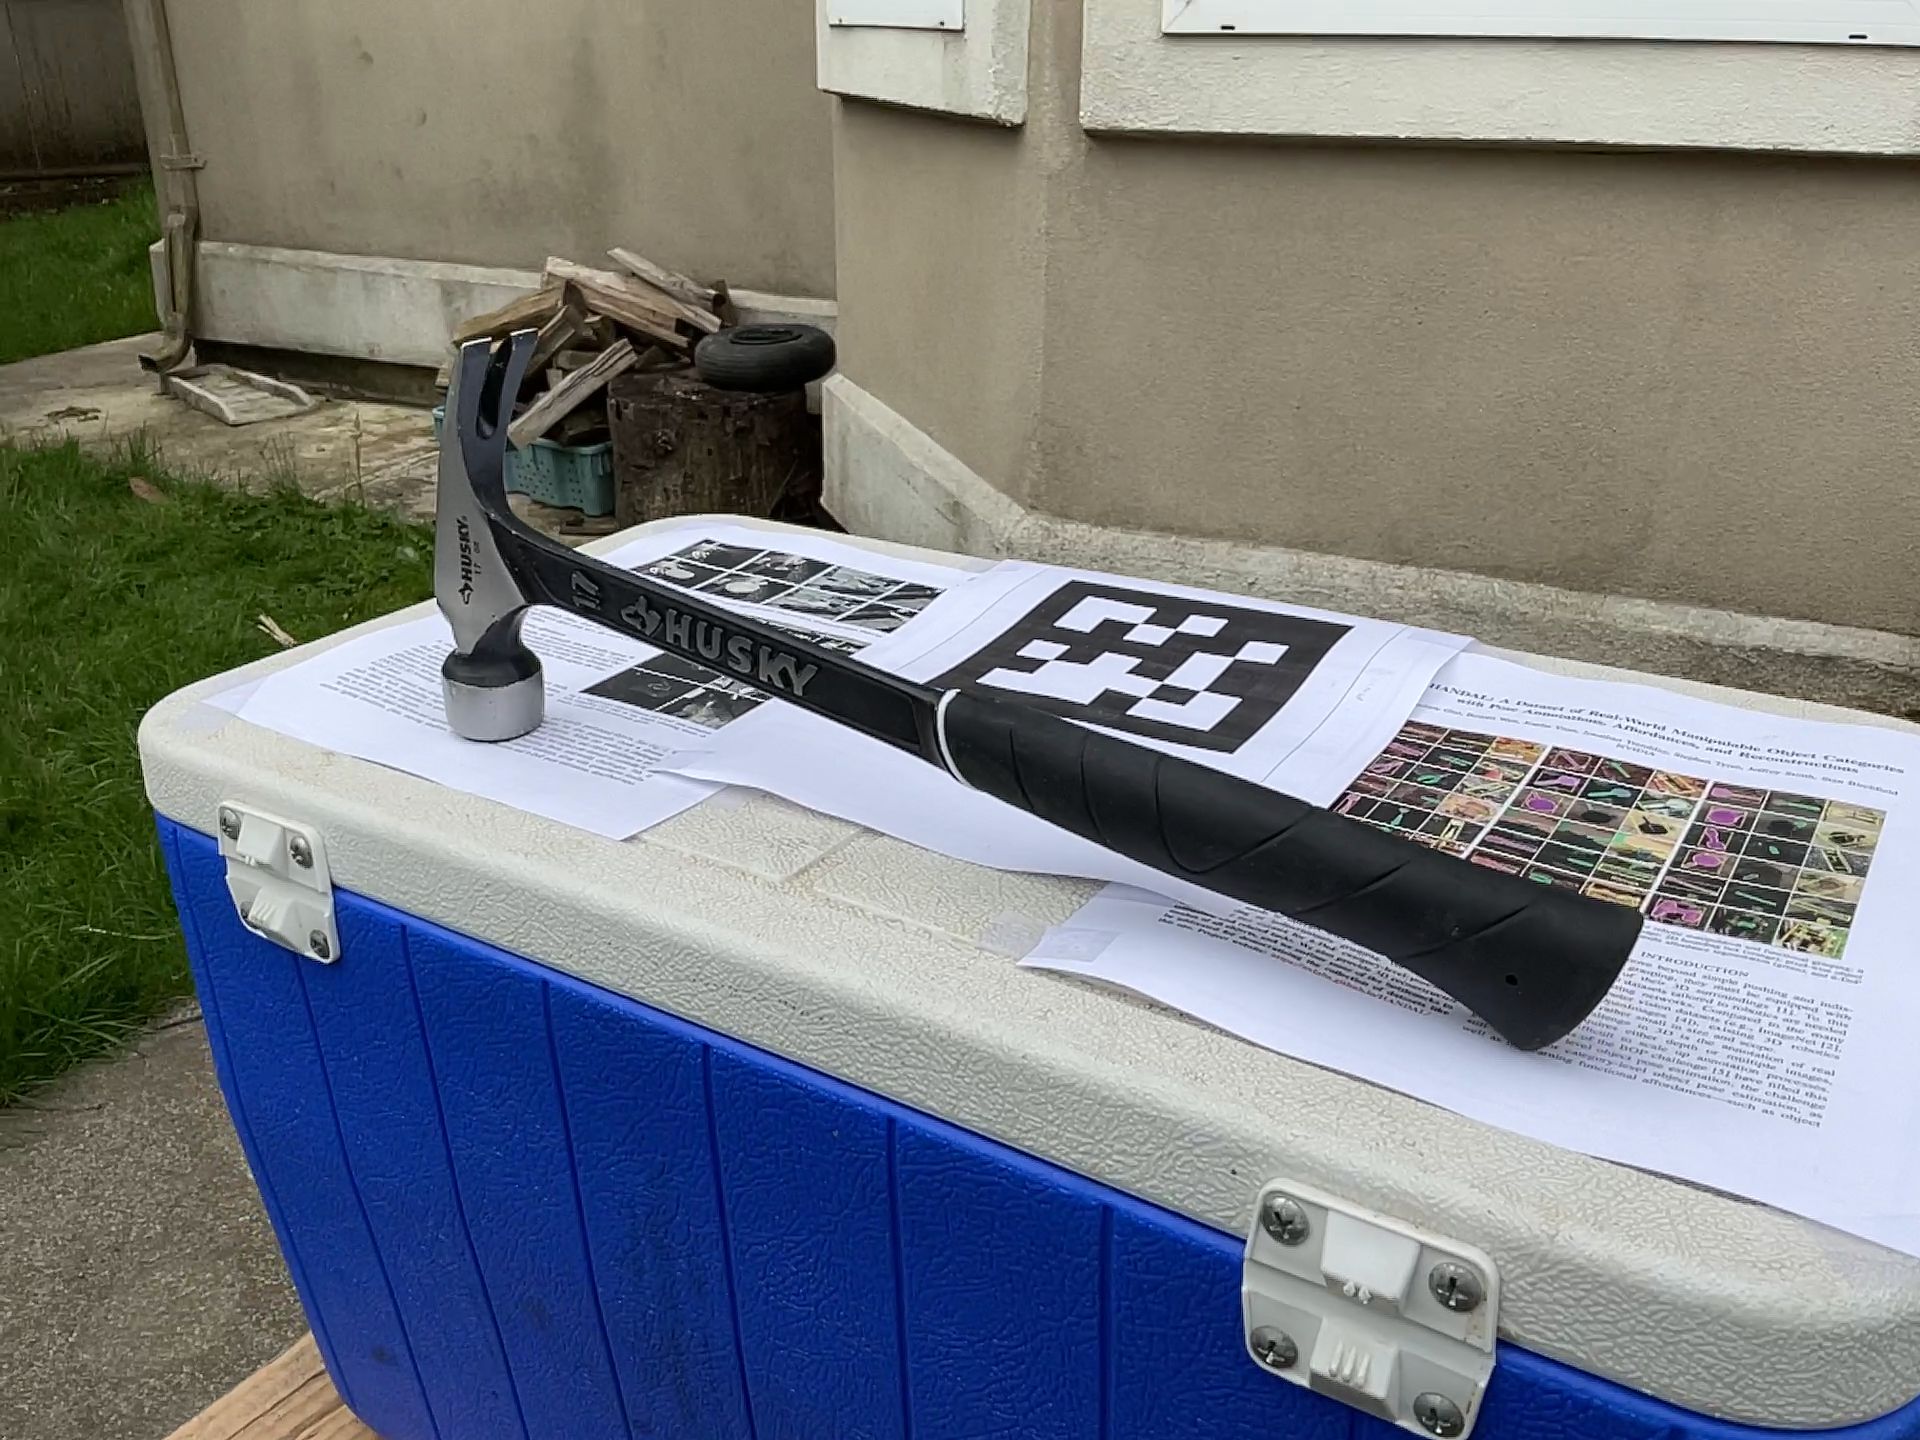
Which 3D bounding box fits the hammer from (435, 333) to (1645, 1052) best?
[{"bbox_3d":[-0.012,-0.004,0.470,0.409,0.149,0.036,20,32,28],"label":"hammer"}]
